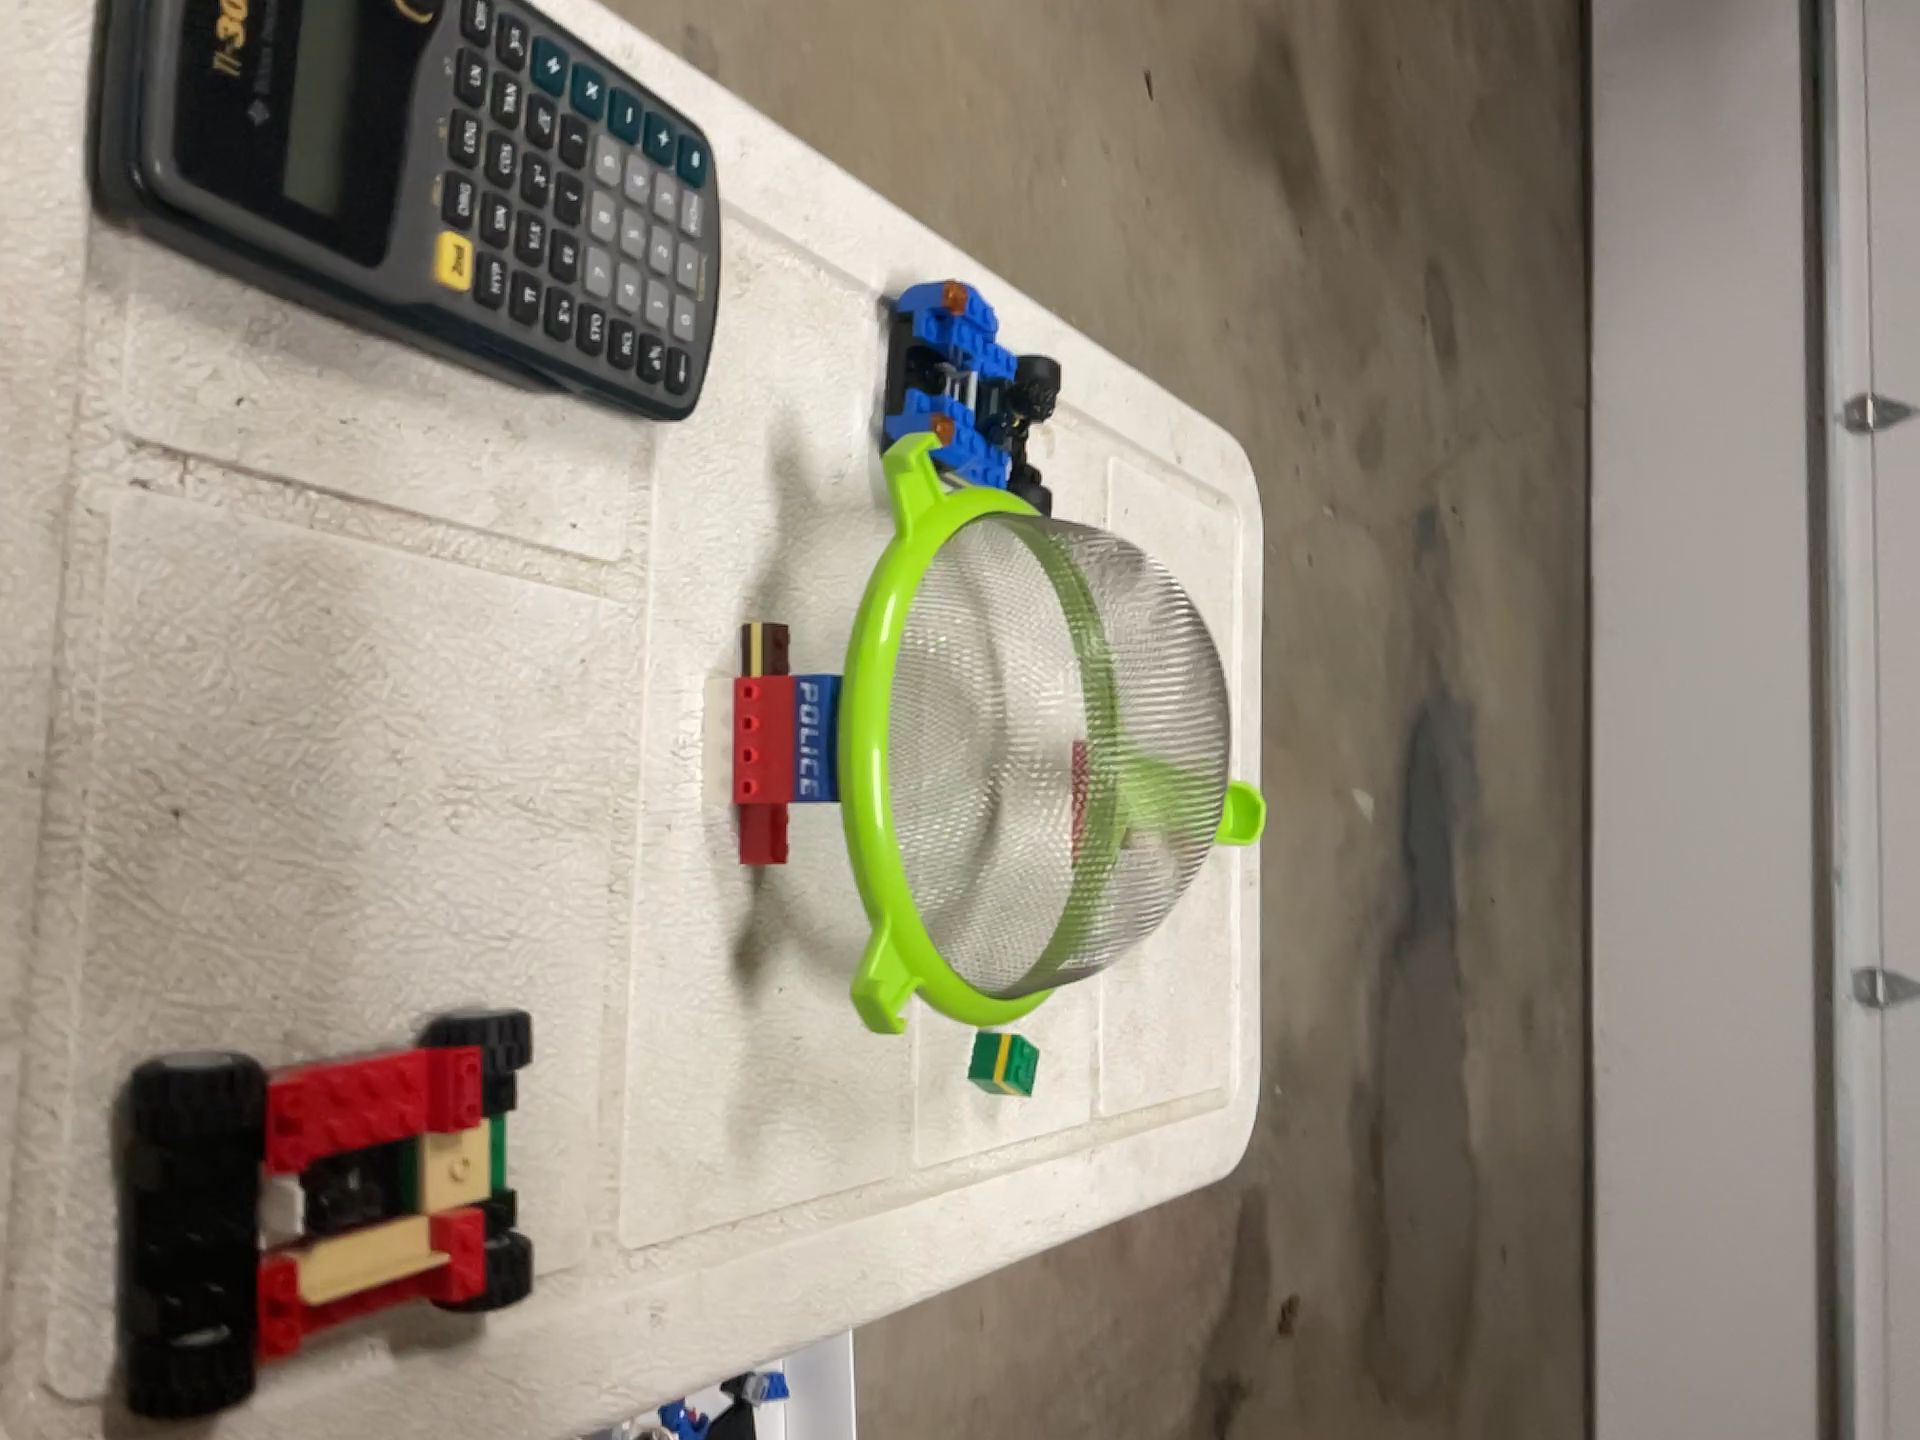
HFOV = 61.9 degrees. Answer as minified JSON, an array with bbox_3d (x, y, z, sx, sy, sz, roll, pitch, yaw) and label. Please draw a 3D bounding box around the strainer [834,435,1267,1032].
[{"bbox_3d":[0.061,0.016,0.483,0.256,0.069,0.151,16,73,-57],"label":"strainer"}]
